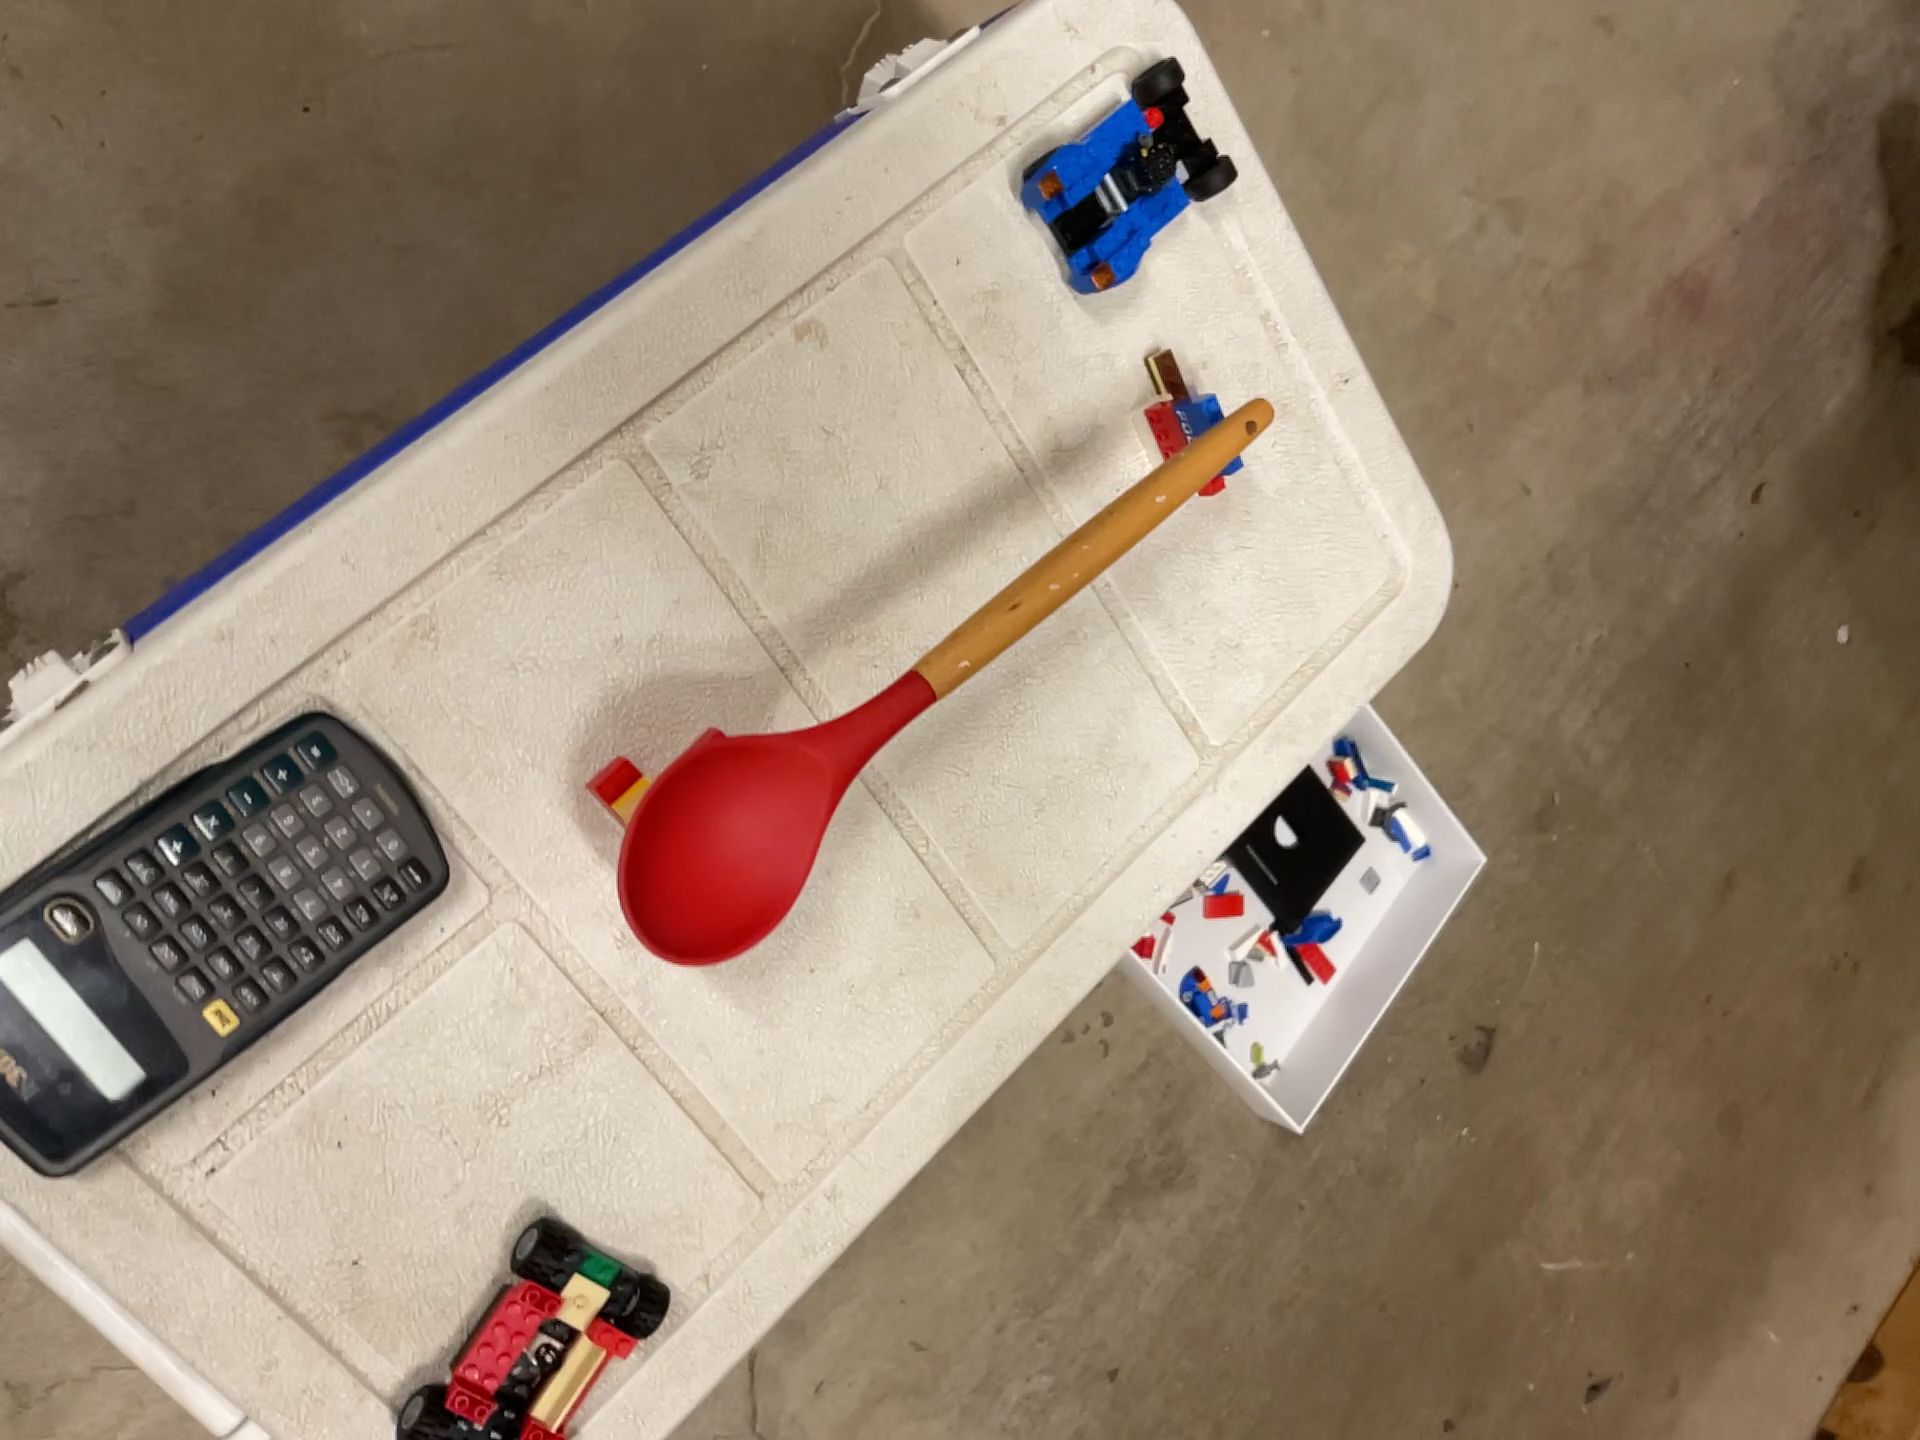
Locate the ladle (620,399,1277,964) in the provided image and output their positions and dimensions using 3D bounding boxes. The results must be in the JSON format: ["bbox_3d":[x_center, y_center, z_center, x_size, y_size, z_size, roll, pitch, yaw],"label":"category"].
[{"bbox_3d":[0.006,-0.029,0.567,0.315,0.031,0.069,-39,117,-21],"label":"ladle"}]
